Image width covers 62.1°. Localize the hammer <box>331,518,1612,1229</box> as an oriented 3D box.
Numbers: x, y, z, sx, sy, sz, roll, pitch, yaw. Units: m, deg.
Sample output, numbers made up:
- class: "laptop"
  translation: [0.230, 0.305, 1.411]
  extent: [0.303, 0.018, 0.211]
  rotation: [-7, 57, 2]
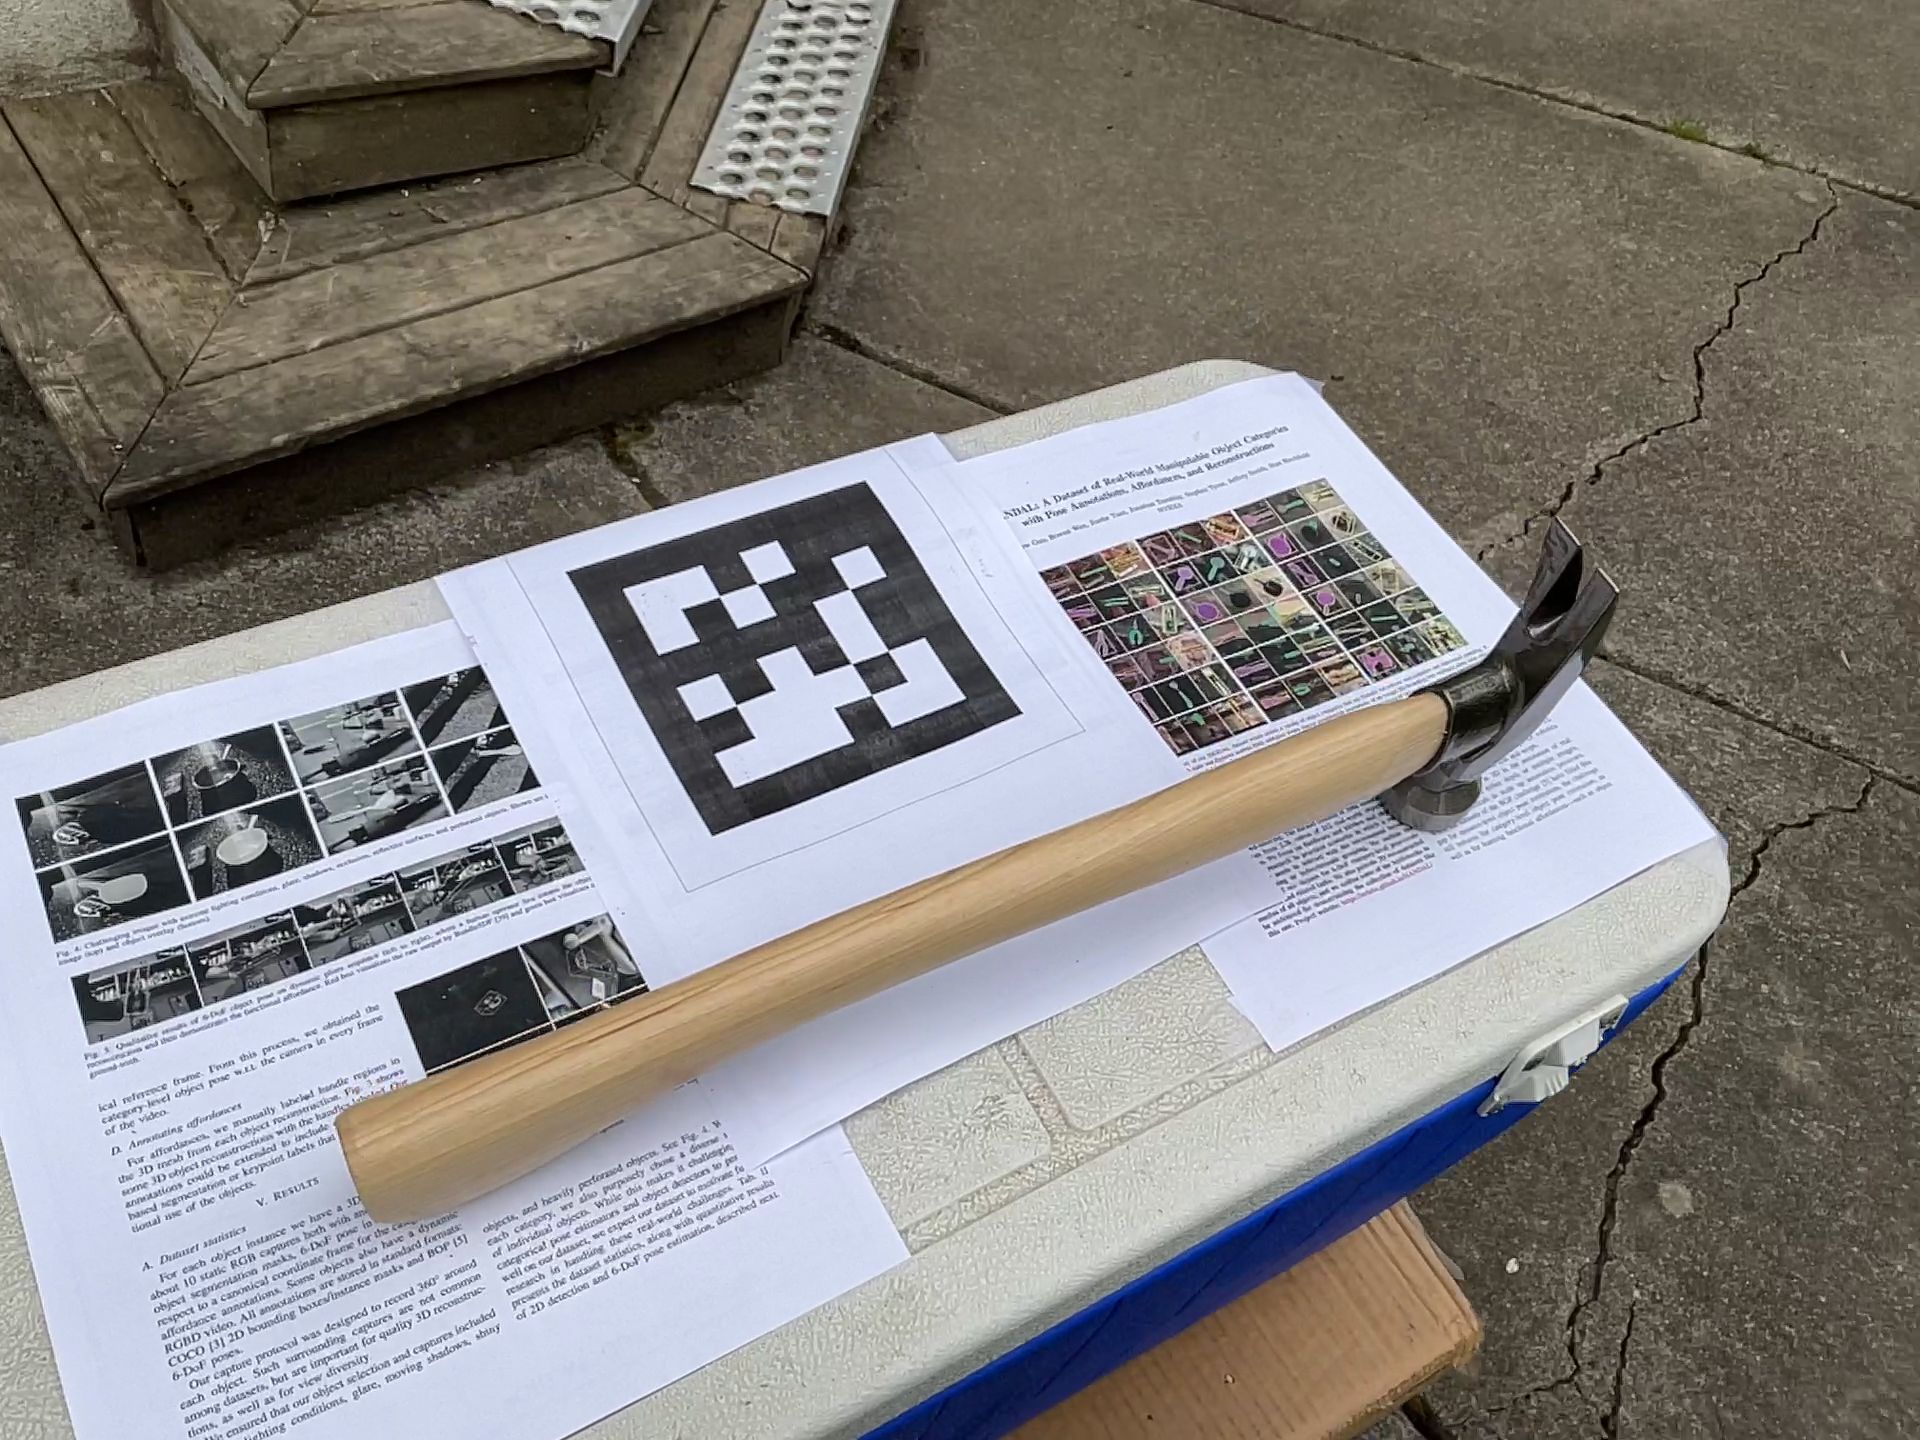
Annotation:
- class: "hammer"
  translation: [0.017, 0.050, 0.491]
  extent: [0.410, 0.146, 0.038]
  rotation: [-20, 61, -19]
